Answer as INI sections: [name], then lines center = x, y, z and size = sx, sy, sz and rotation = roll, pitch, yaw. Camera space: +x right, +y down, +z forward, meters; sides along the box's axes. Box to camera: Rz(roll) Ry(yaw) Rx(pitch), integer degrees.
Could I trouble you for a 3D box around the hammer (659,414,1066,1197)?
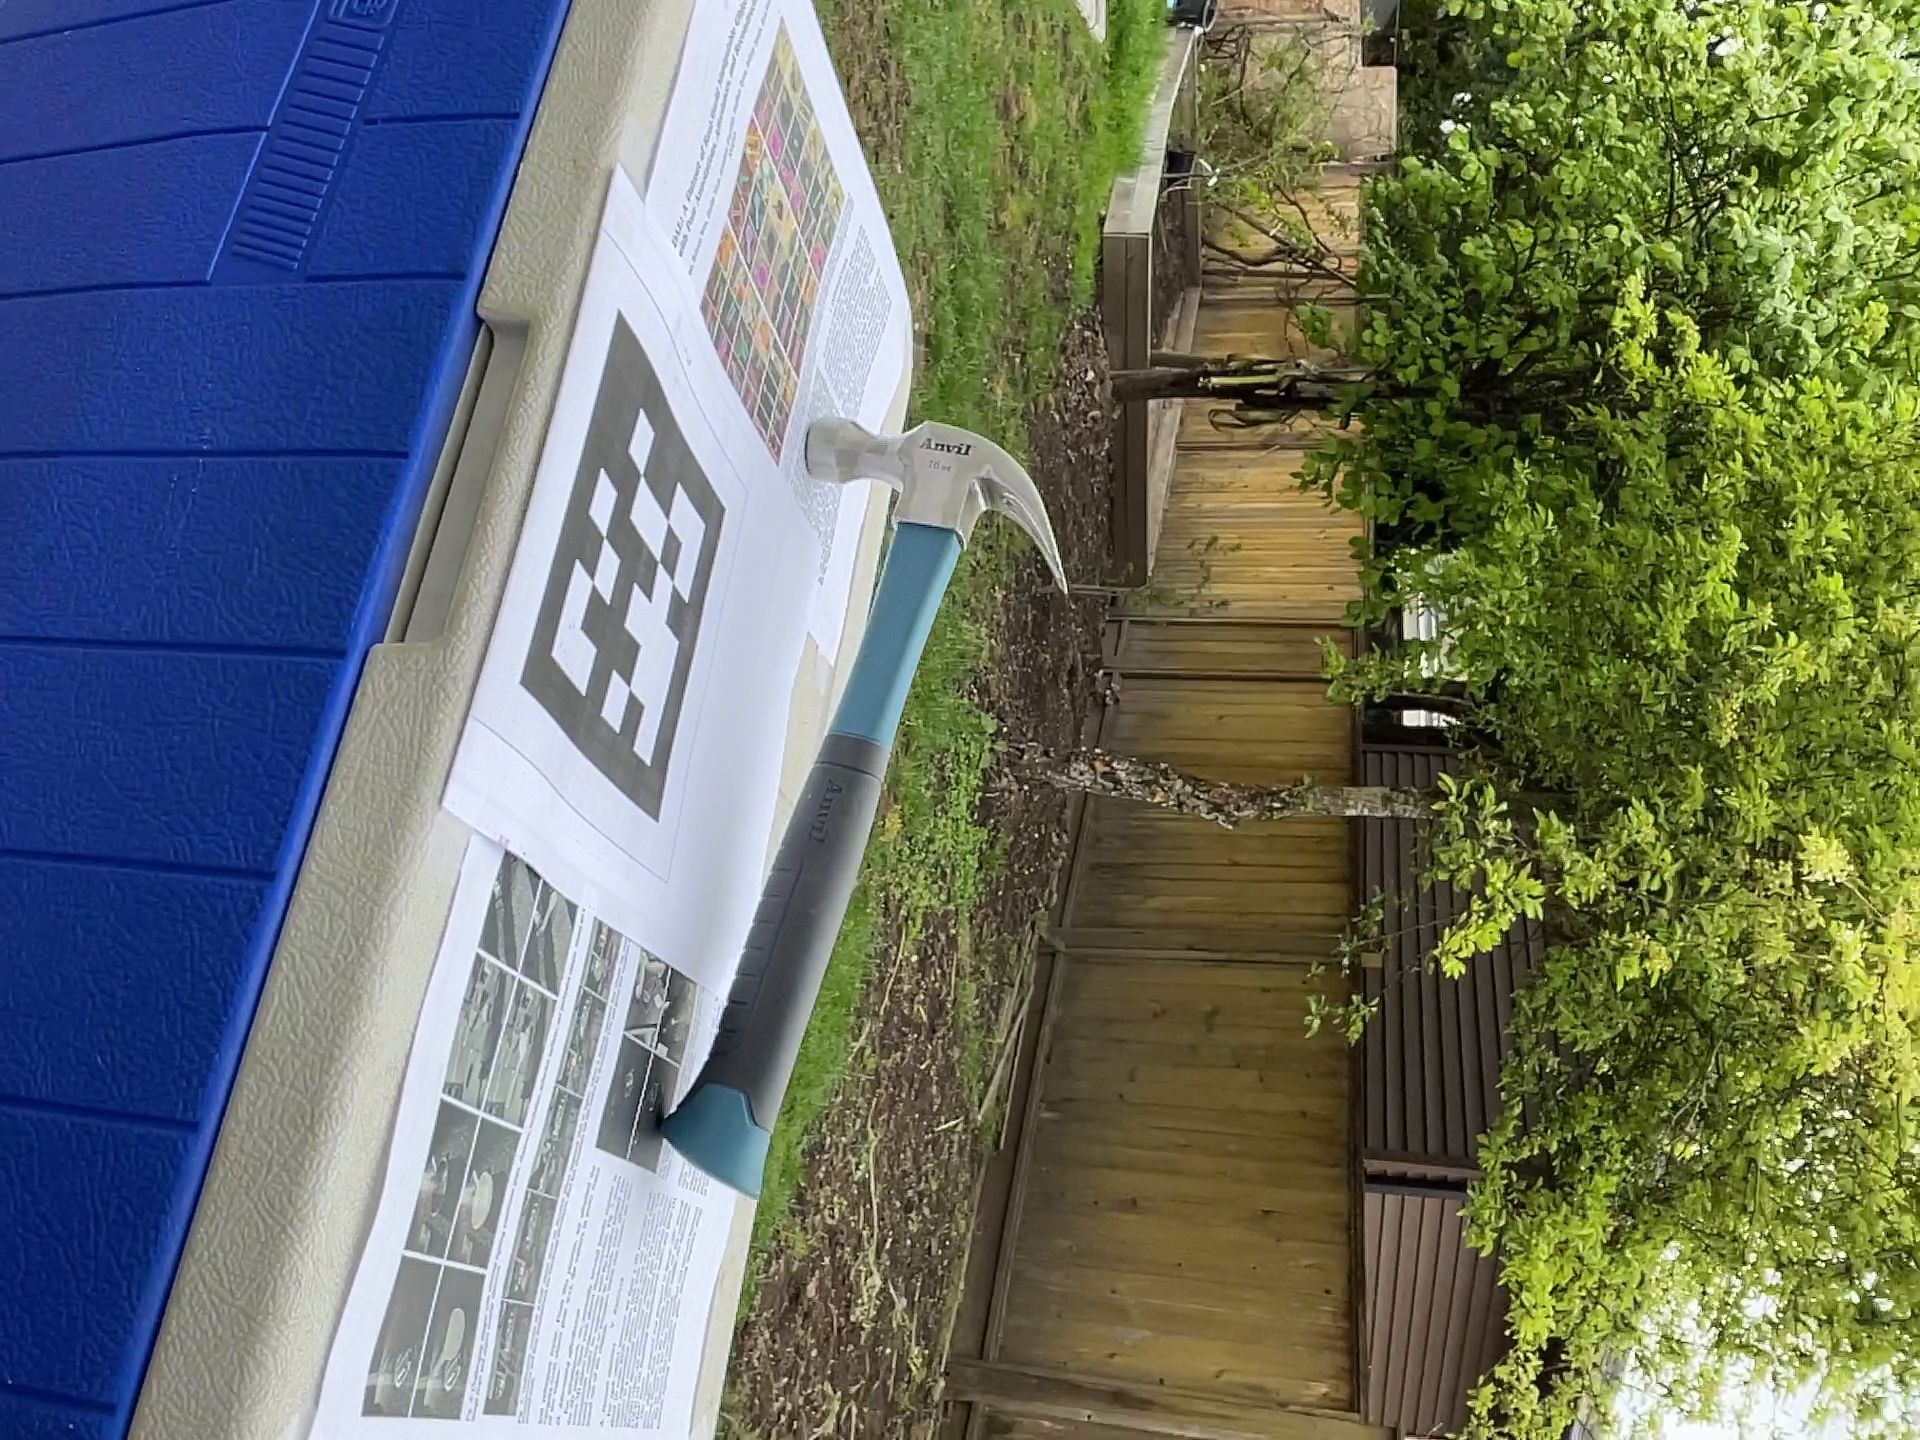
[hammer]
center = -0.048, 0.022, 0.643
size = 0.033, 0.128, 0.331
rotation = 64, 40, -62
